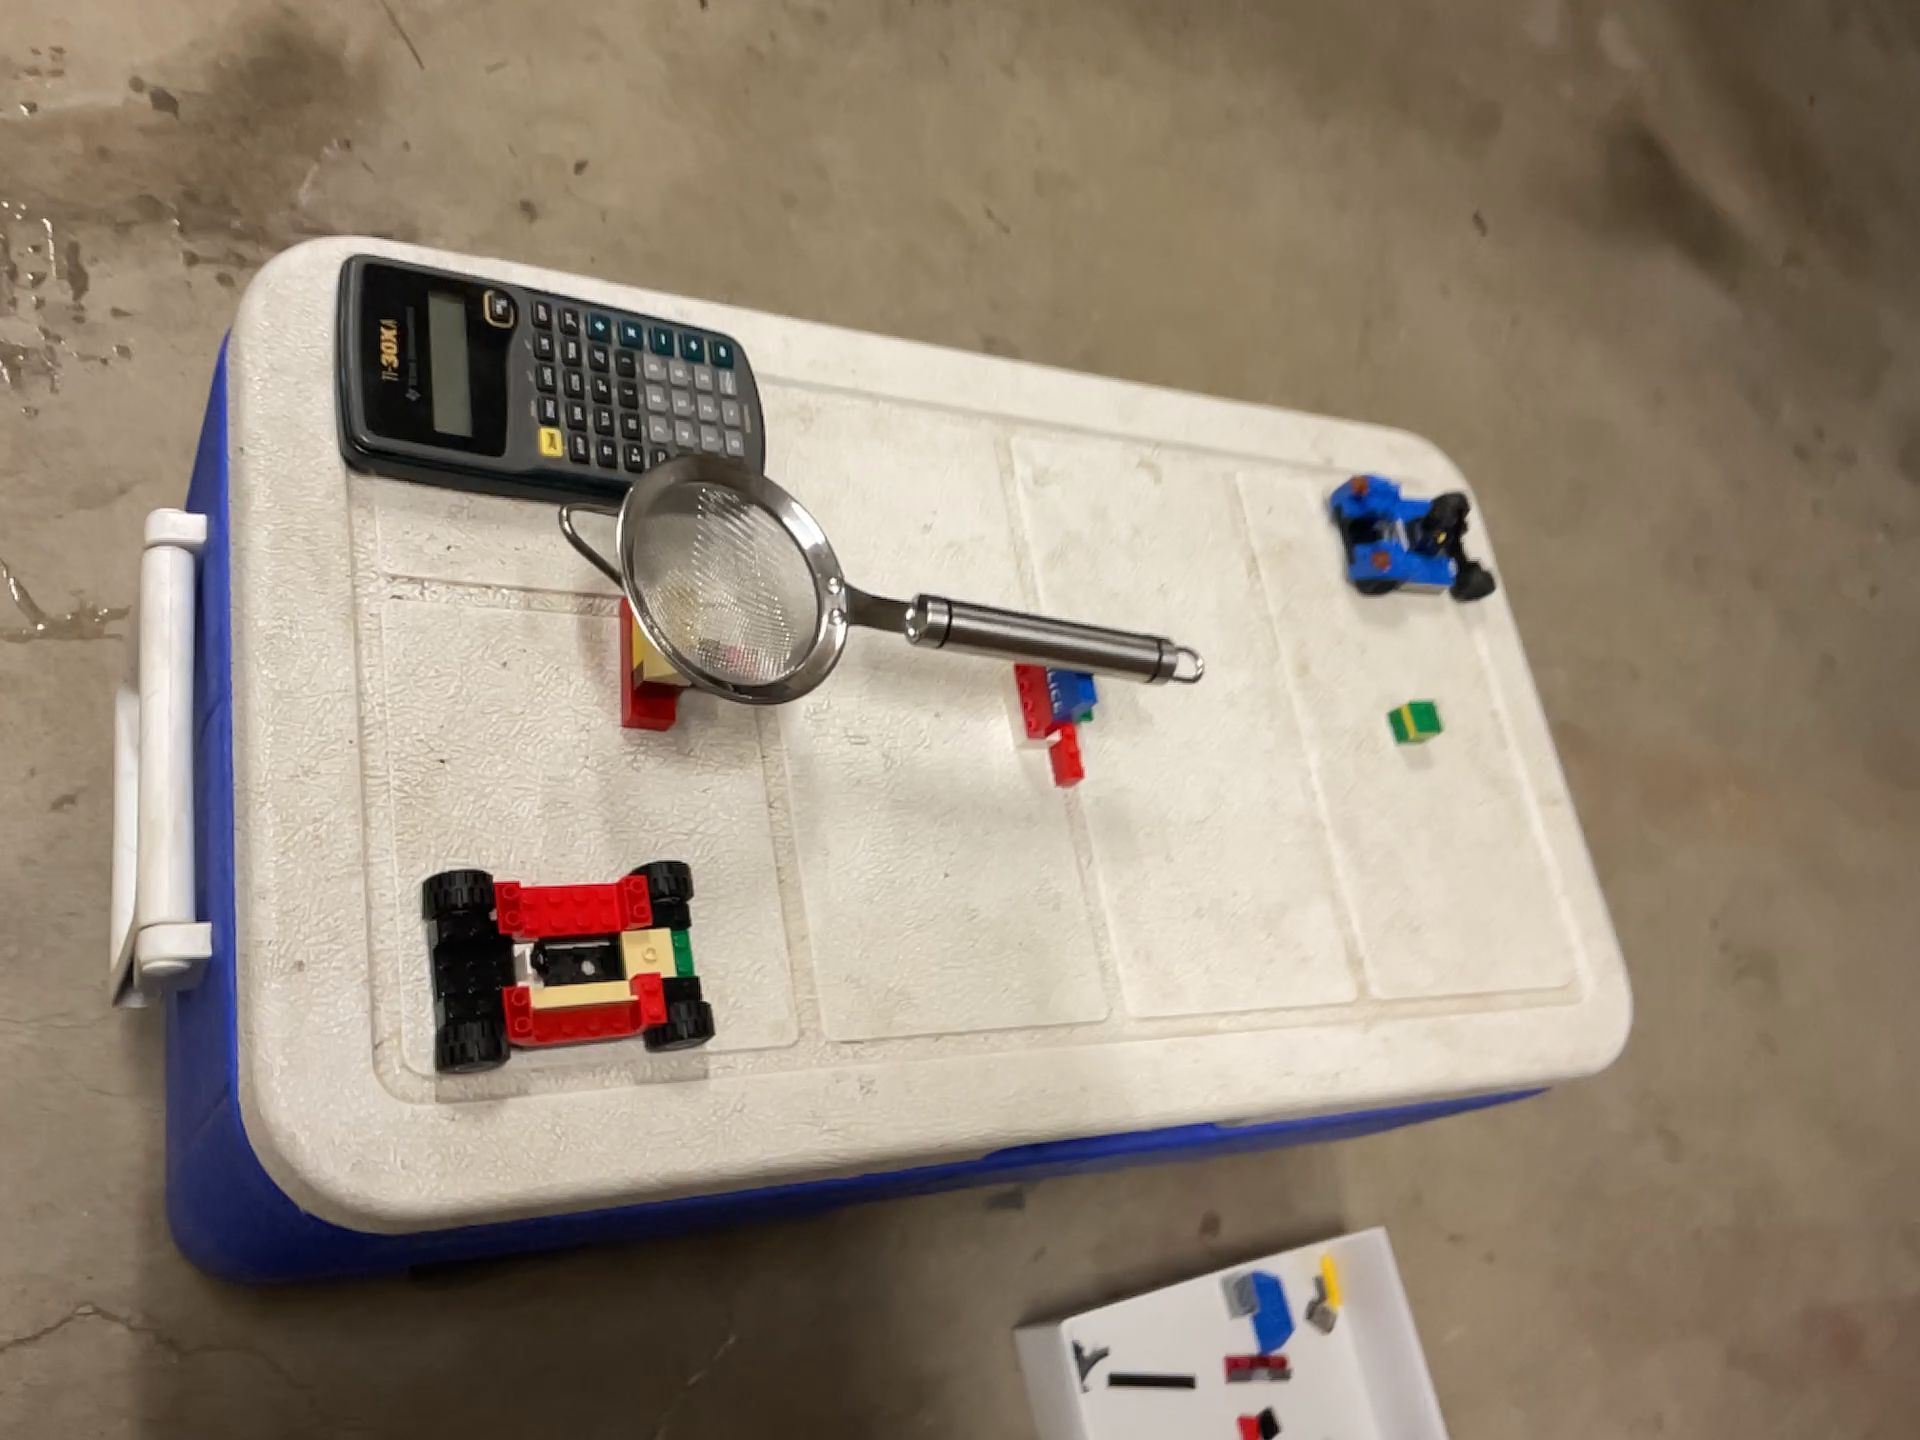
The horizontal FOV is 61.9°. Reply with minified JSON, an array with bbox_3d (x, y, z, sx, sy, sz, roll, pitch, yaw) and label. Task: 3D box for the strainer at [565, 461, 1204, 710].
[{"bbox_3d":[-0.017,-0.033,0.555,0.258,0.050,0.087,8,65,-30],"label":"strainer"}]
